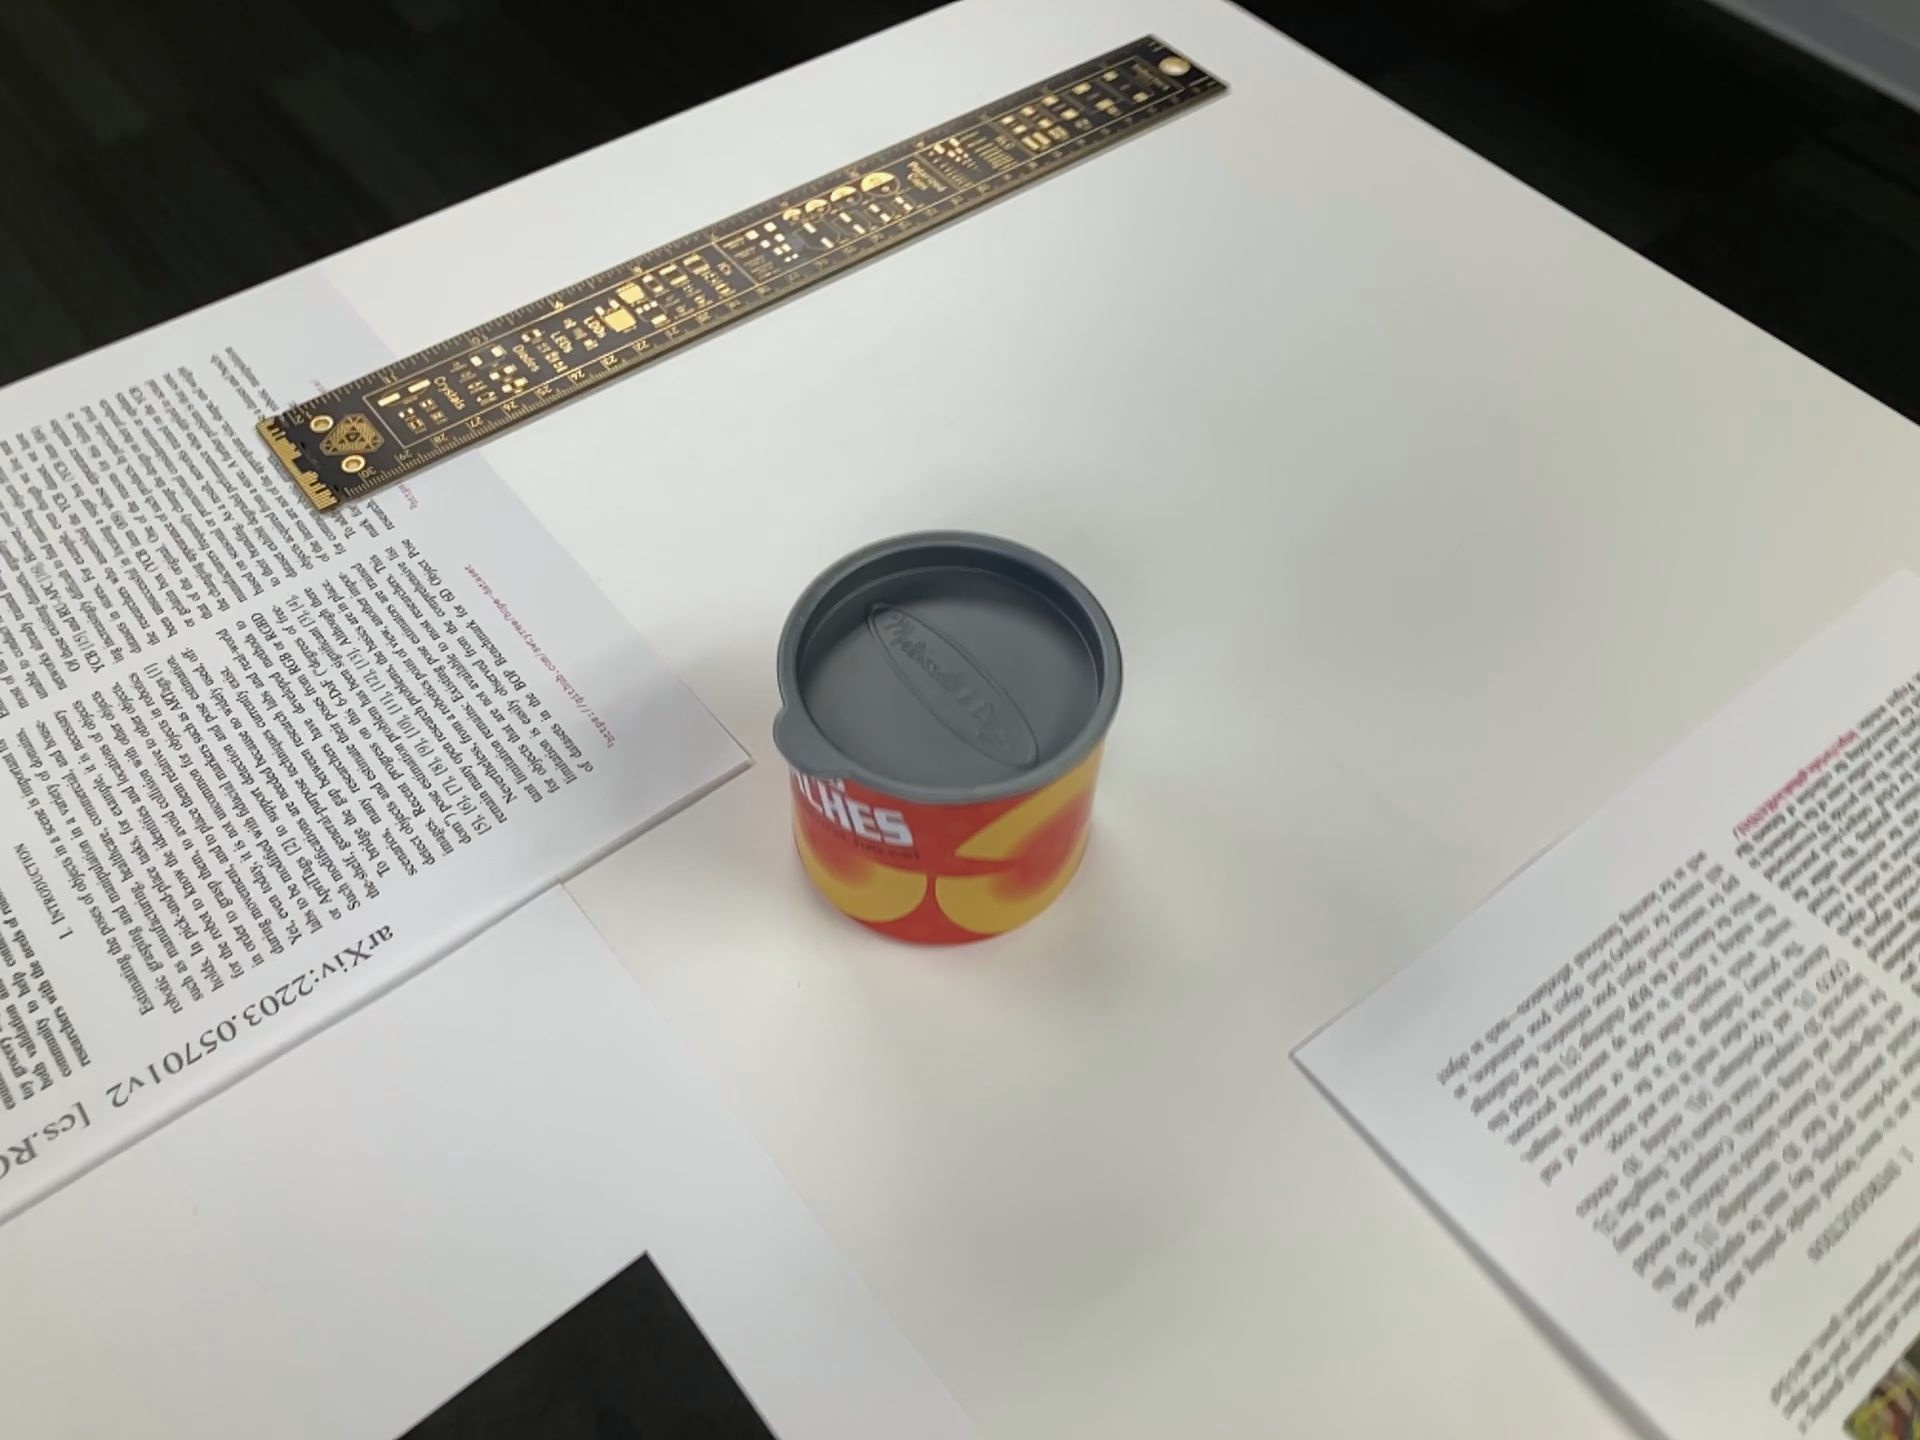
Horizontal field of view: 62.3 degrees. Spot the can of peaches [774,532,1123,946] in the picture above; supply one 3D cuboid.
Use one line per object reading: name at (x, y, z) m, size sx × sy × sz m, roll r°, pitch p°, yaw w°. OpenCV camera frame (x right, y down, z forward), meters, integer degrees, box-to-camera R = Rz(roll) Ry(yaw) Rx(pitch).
can of peaches at (-0.005, 0.006, 0.325) m, size 0.071 × 0.058 × 0.071 m, roll 1°, pitch 54°, yaw -1°
